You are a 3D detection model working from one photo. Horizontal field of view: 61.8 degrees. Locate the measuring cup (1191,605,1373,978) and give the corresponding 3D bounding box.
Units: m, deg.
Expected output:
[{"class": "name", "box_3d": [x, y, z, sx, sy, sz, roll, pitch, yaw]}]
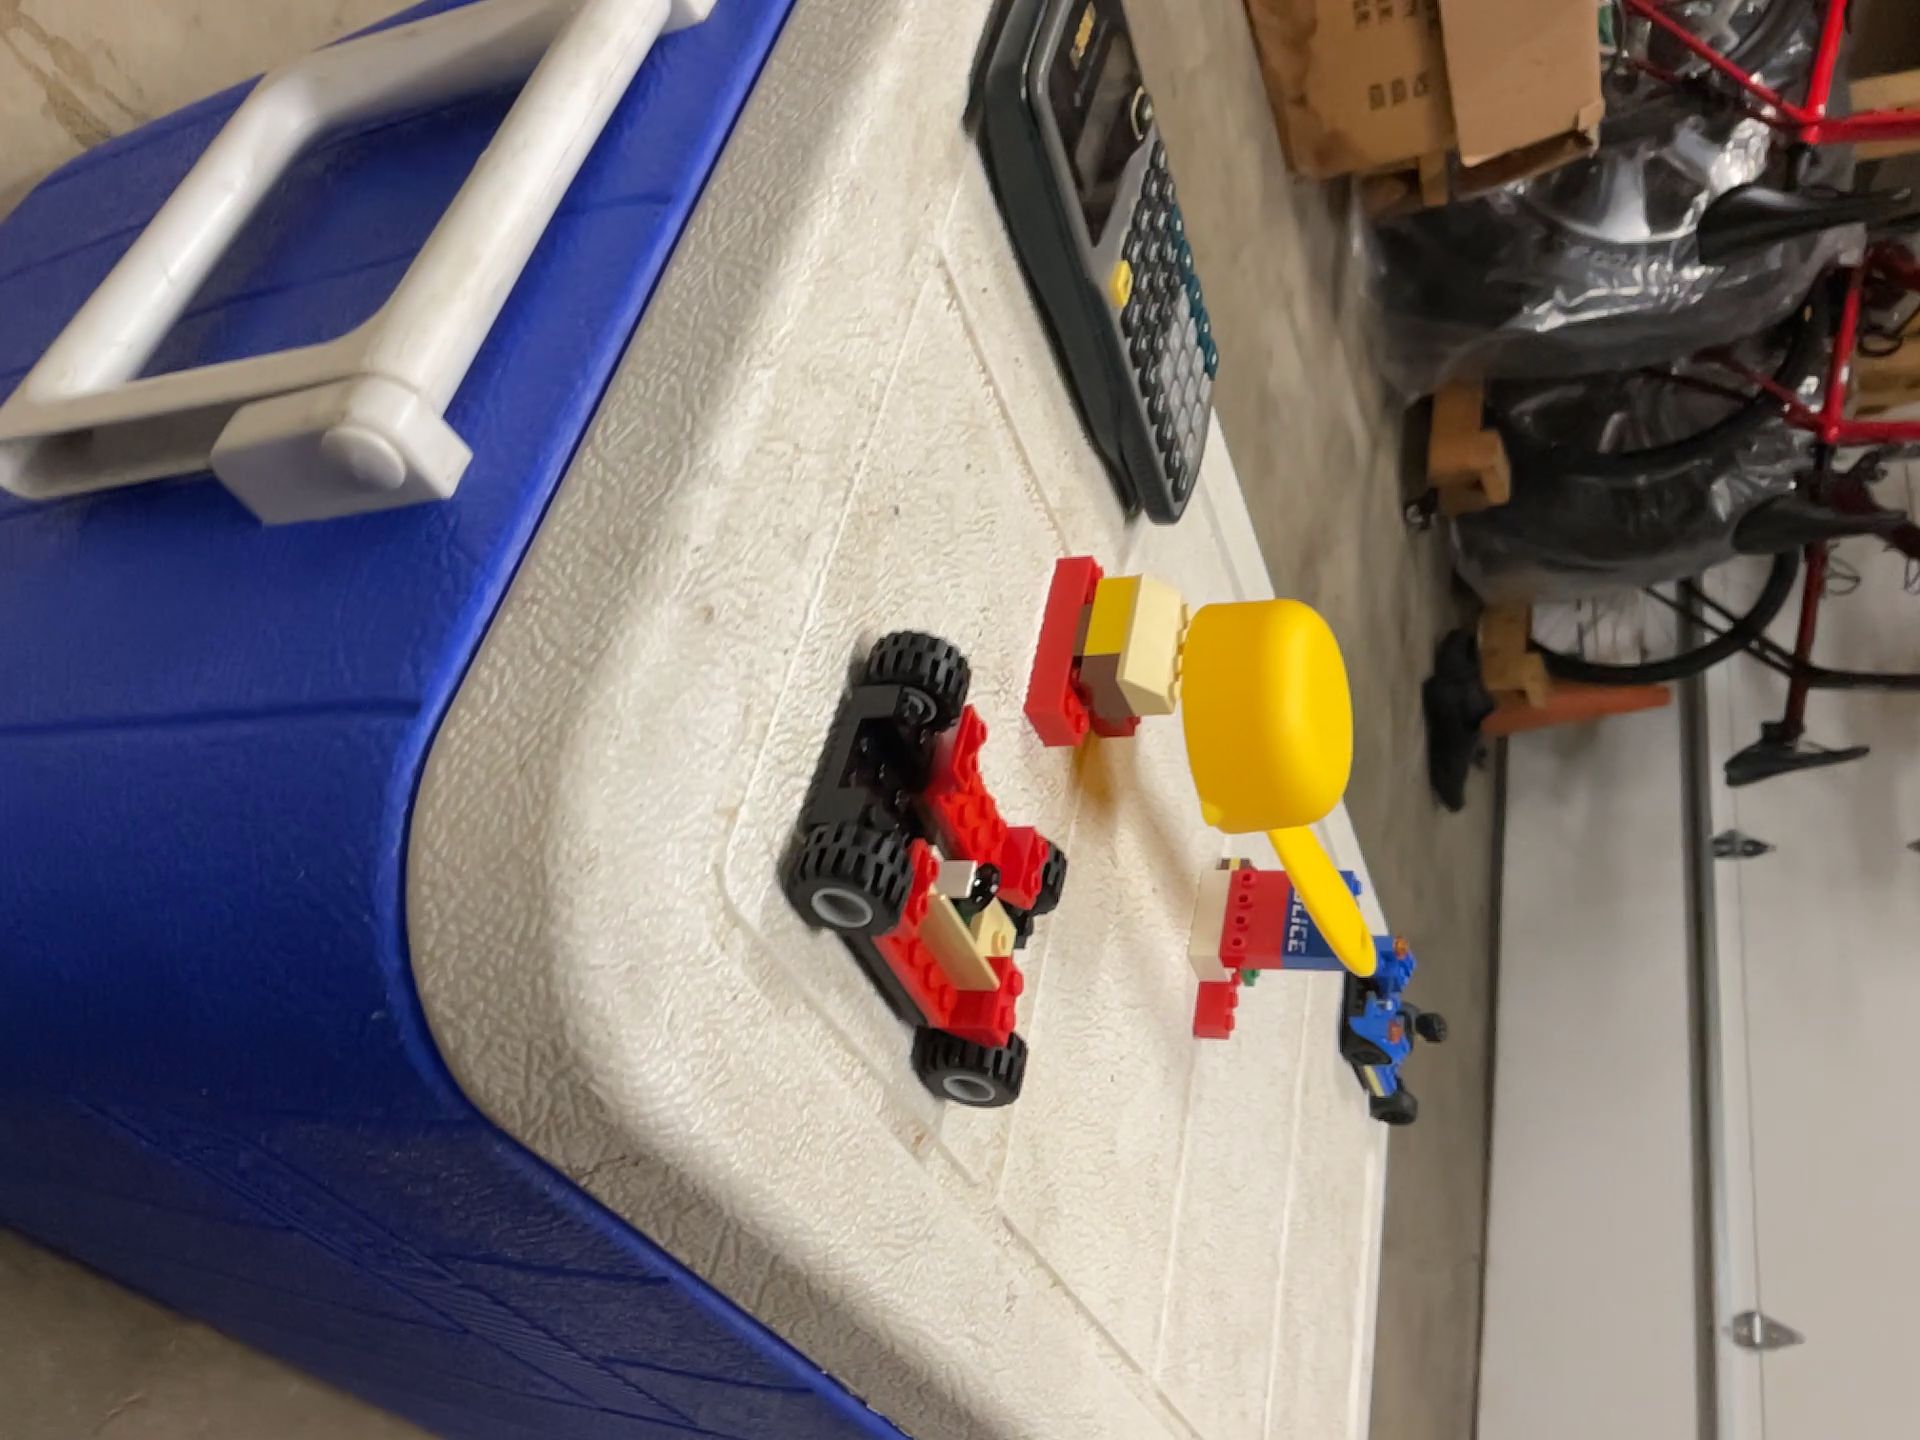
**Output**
[{"class": "measuring cup", "box_3d": [0.102, 0.028, 0.442, 0.156, 0.029, 0.062, 54, 40, -42]}]
